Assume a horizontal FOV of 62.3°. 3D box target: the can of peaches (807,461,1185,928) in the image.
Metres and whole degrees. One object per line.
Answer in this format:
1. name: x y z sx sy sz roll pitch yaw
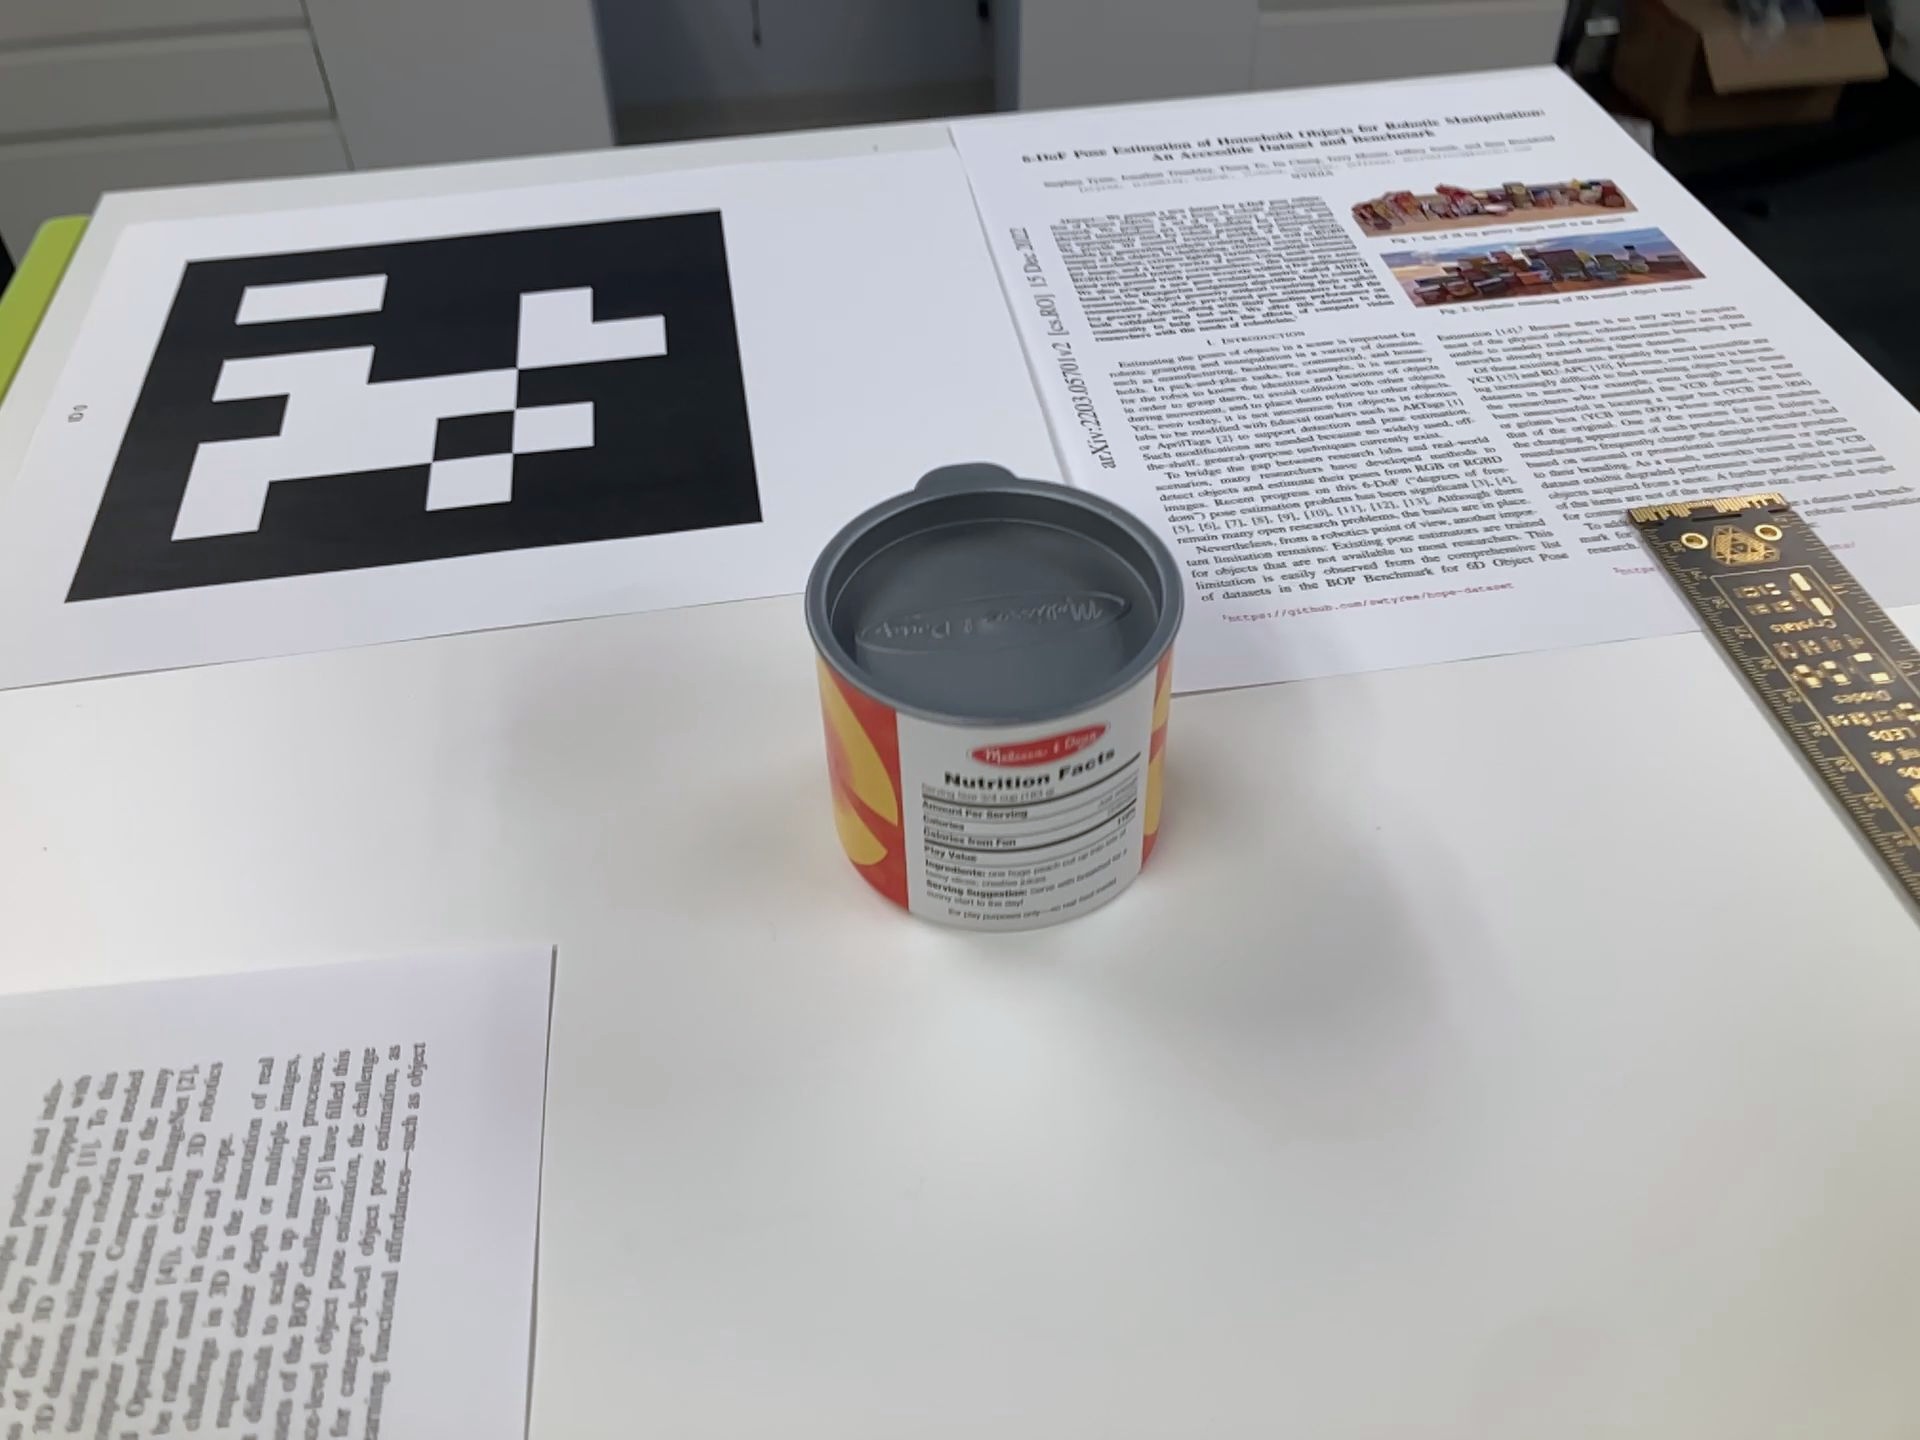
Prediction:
1. can of peaches: 0.007 -0.005 0.300 0.071 0.058 0.071 -1 44 1
